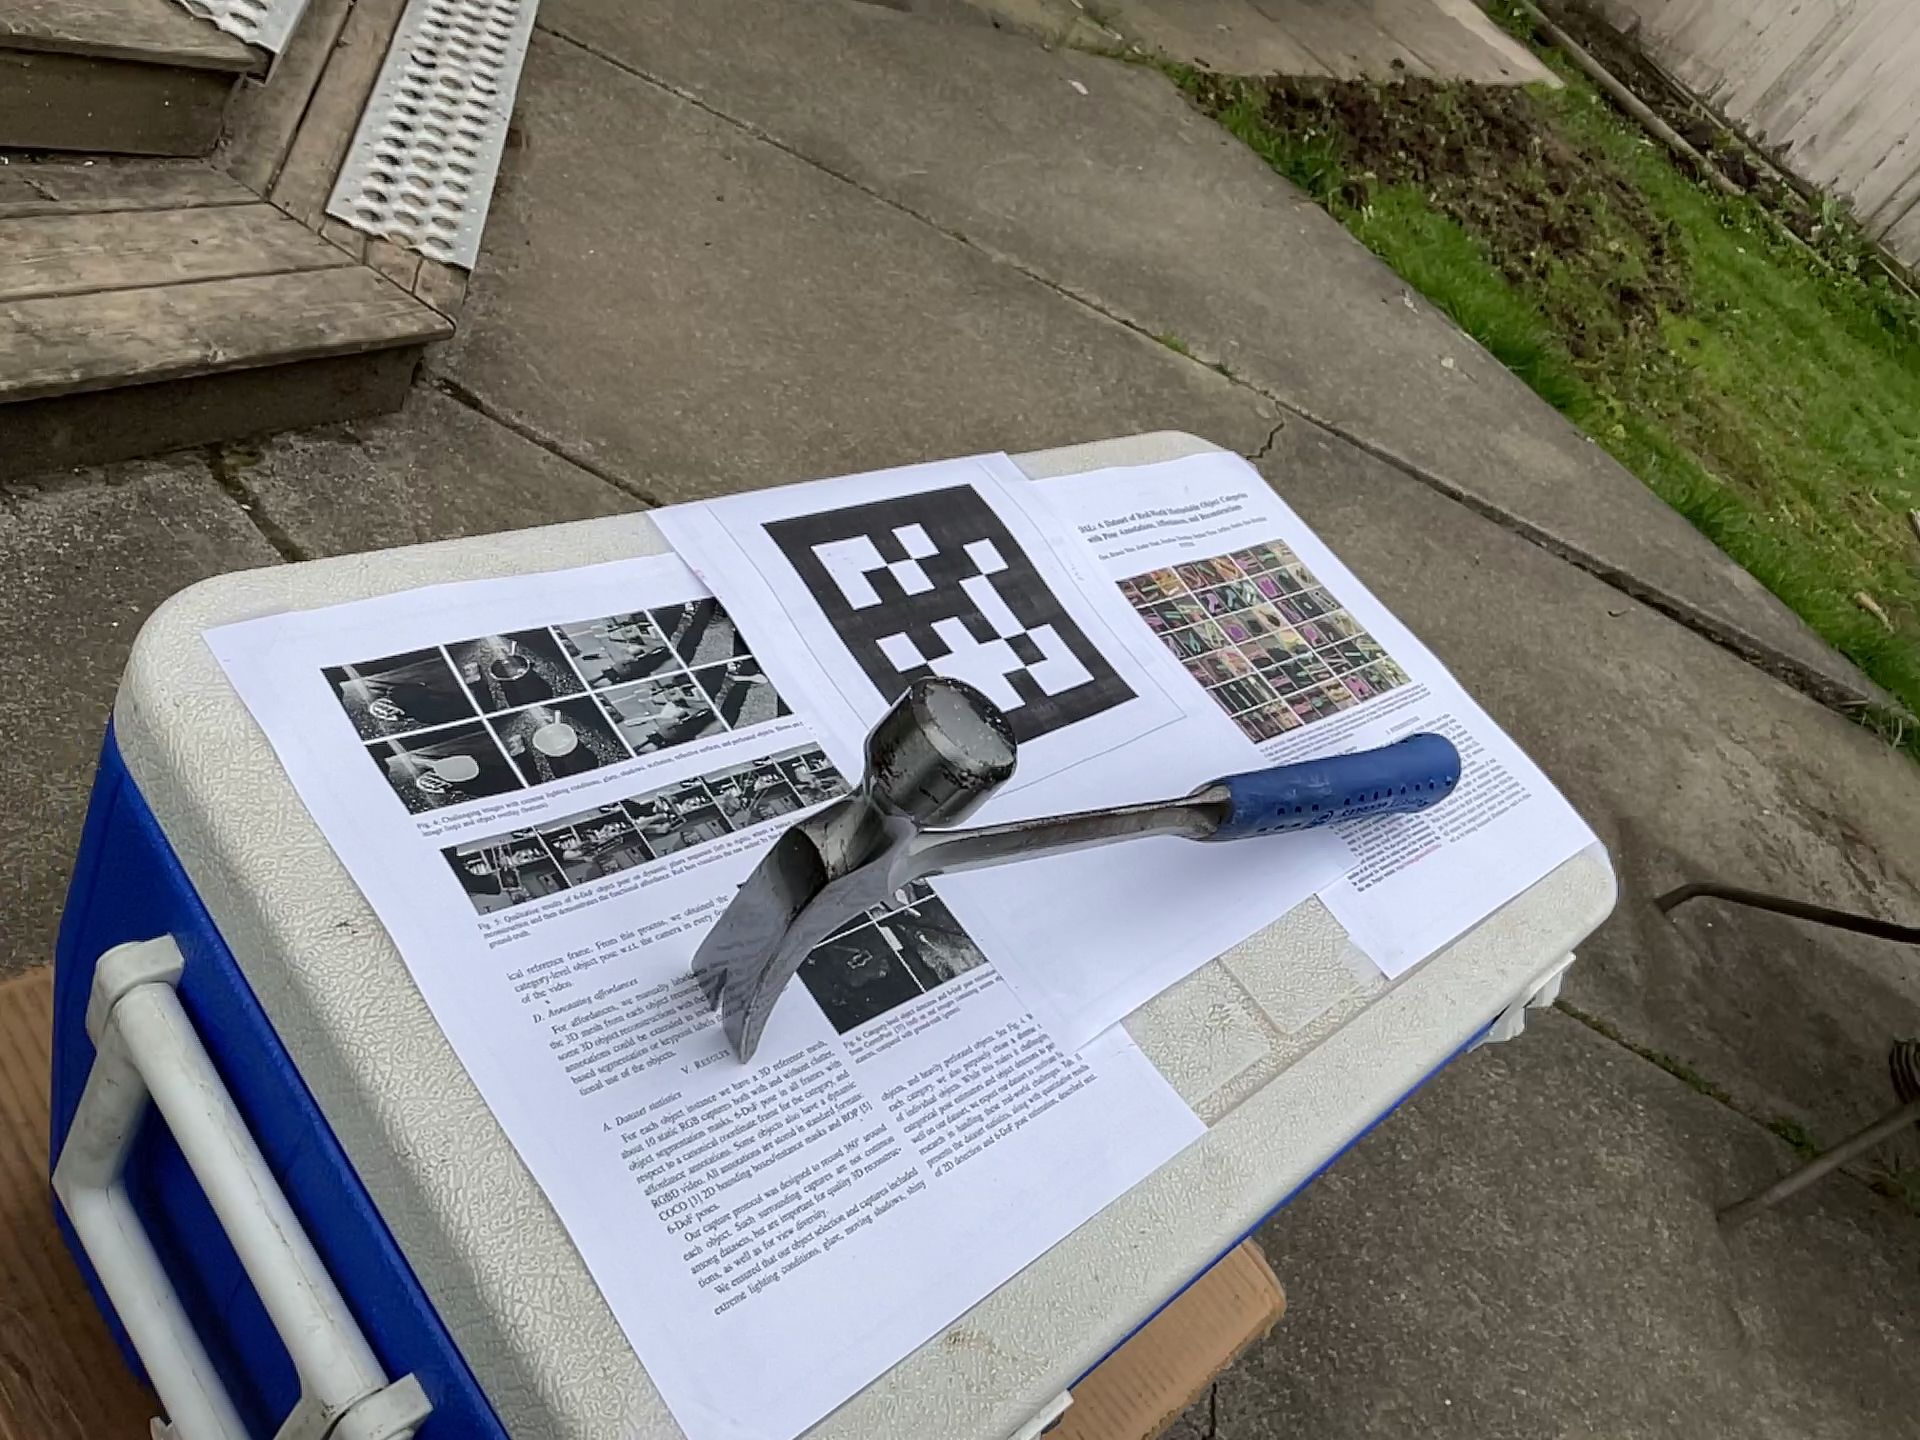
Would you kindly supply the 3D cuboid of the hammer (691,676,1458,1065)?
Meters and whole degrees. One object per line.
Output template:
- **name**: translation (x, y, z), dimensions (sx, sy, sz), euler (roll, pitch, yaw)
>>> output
- **hammer**: translation (0.077, 0.037, 0.574), dimensions (0.405, 0.144, 0.035), euler (-4, 54, -51)
